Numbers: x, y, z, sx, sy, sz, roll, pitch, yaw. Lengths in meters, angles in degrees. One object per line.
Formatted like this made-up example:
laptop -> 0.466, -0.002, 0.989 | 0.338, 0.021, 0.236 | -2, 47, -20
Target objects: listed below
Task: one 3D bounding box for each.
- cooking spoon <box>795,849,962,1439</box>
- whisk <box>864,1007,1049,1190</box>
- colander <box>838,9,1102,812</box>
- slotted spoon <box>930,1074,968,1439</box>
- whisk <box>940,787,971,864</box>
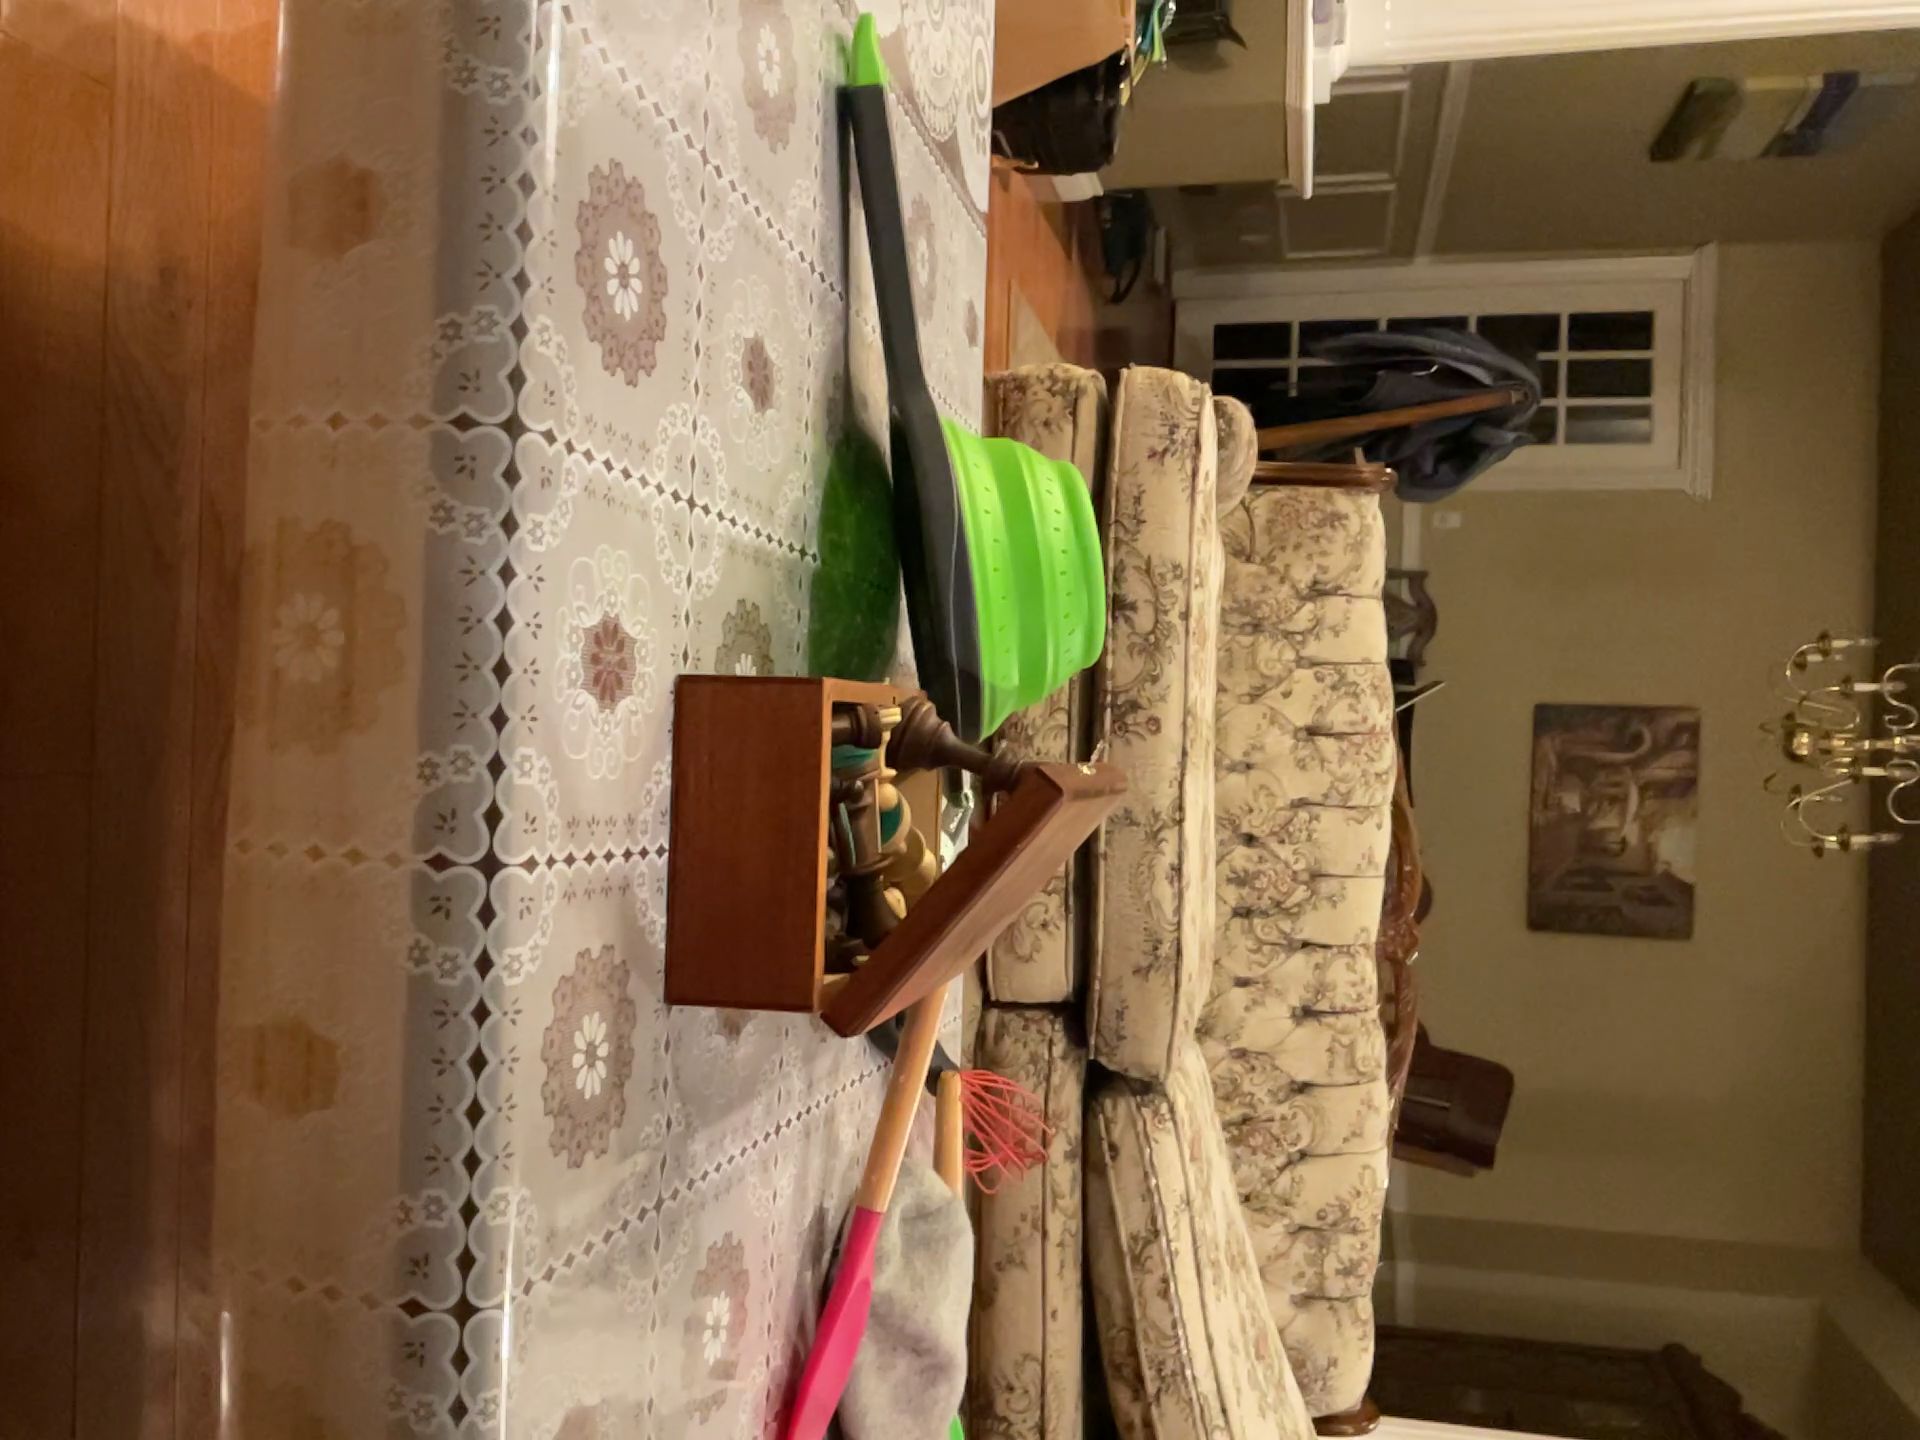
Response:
cooking spoon -> -0.037, 0.219, 0.796 | 0.068, 0.017, 0.319 | 51, 53, -73
whisk -> -0.004, 0.229, 0.986 | 0.295, 0.073, 0.073 | 59, 40, -55
colander -> 0.008, -0.157, 0.813 | 0.204, 0.094, 0.397 | -132, -146, -80
slotted spoon -> -0.010, 0.359, 0.980 | 0.070, 0.031, 0.313 | -52, 144, -68
whisk -> -0.027, 0.085, 0.912 | 0.057, 0.059, 0.246 | -49, -177, 21
